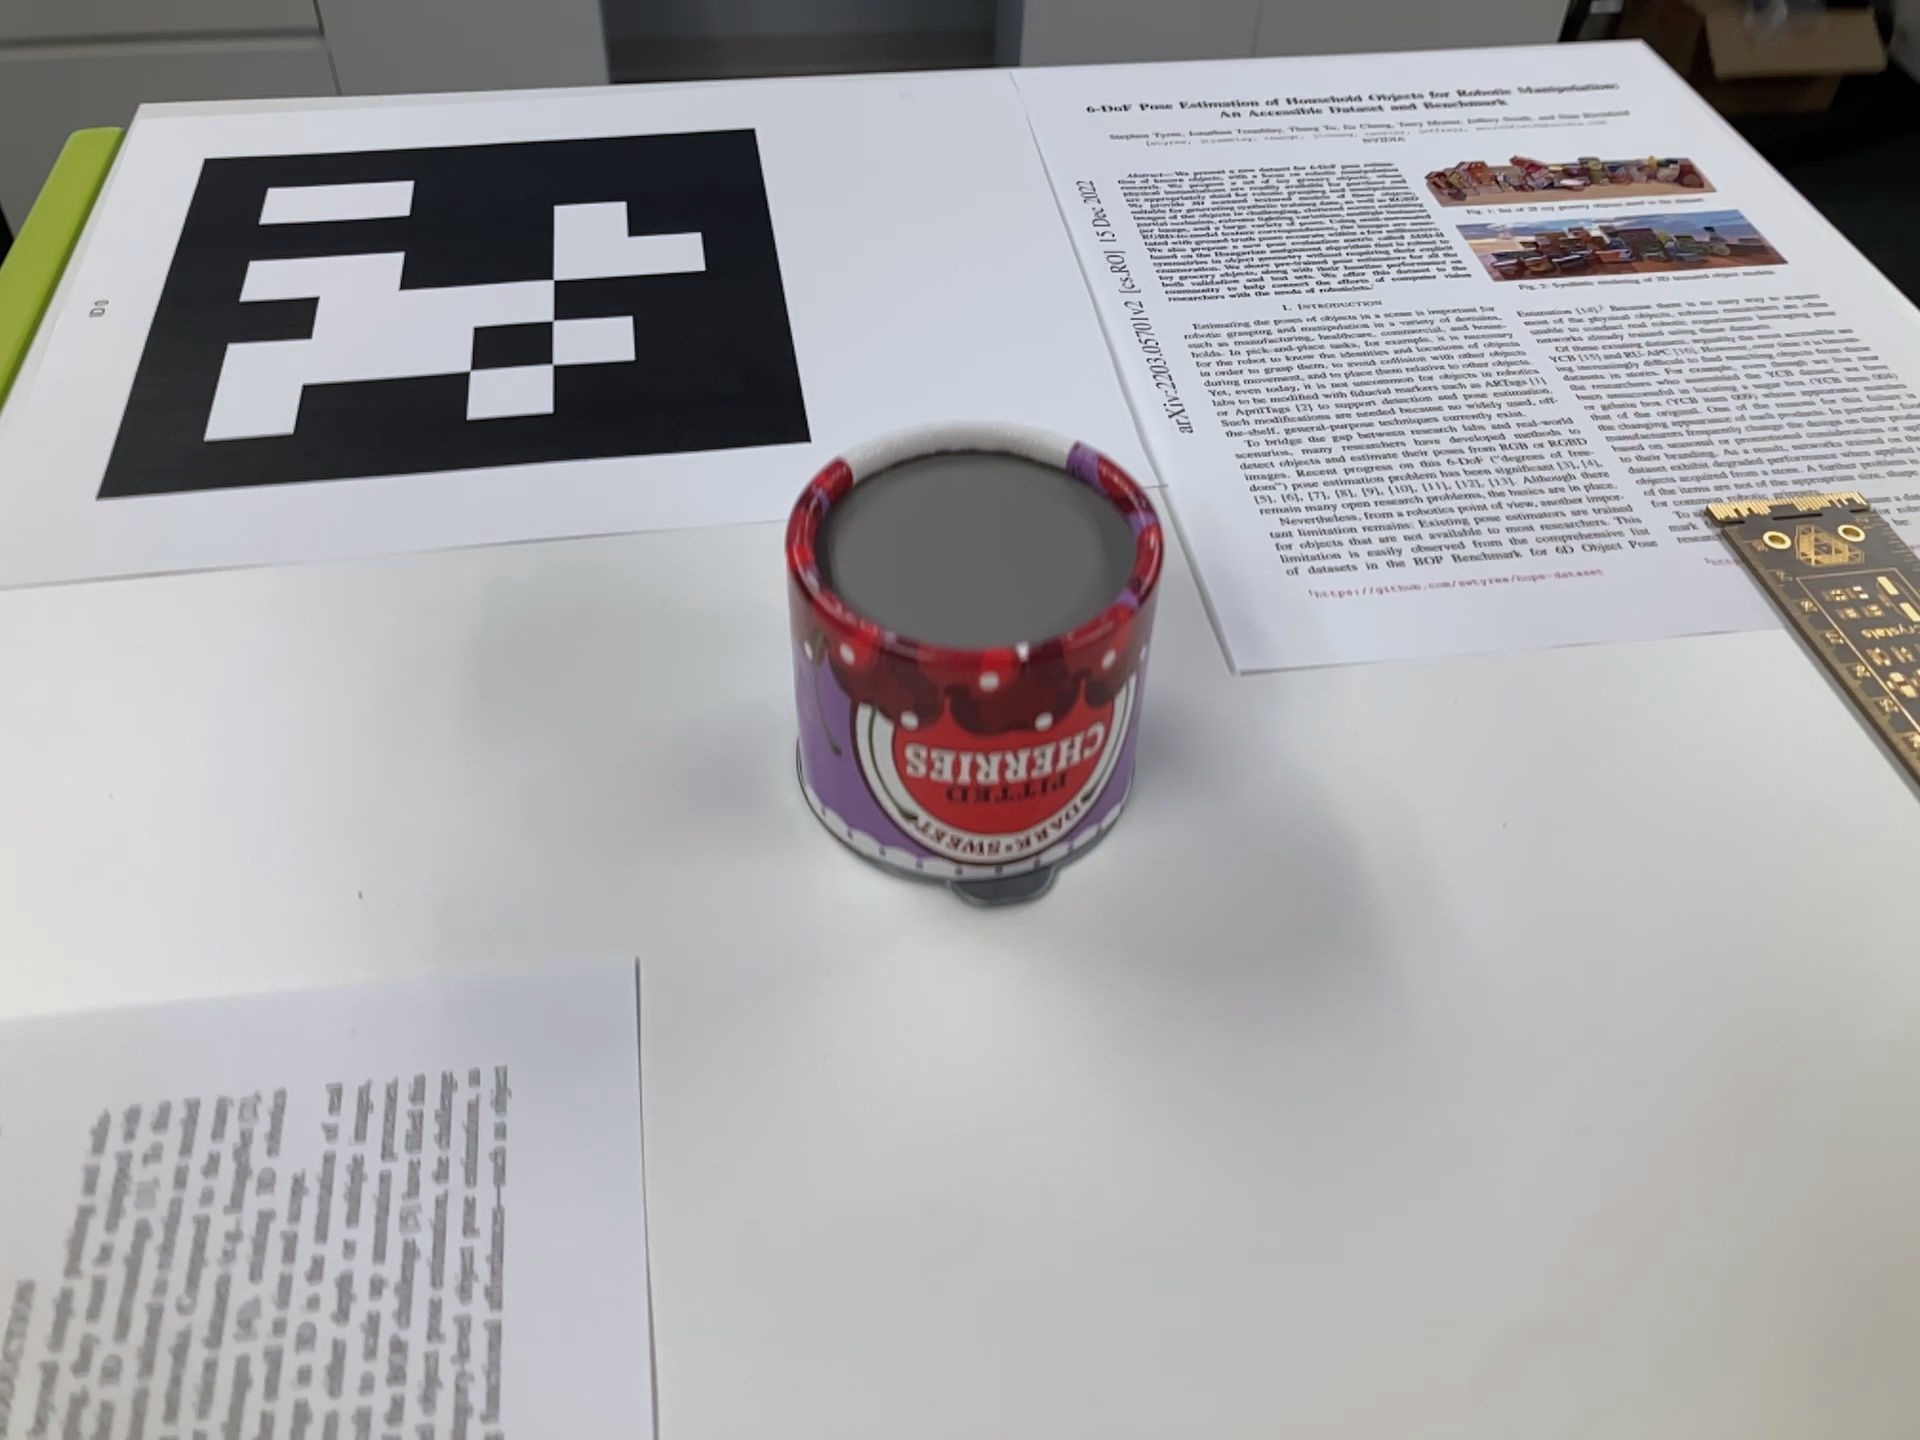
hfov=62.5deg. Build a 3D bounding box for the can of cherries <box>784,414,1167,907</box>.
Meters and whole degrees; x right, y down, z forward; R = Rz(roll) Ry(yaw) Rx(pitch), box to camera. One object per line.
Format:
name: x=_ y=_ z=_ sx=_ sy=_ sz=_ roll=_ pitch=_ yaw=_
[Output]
can of cherries: x=0.003 y=-0.012 z=0.286 sx=0.071 sy=0.058 sz=0.071 roll=1 pitch=46 yaw=-1
